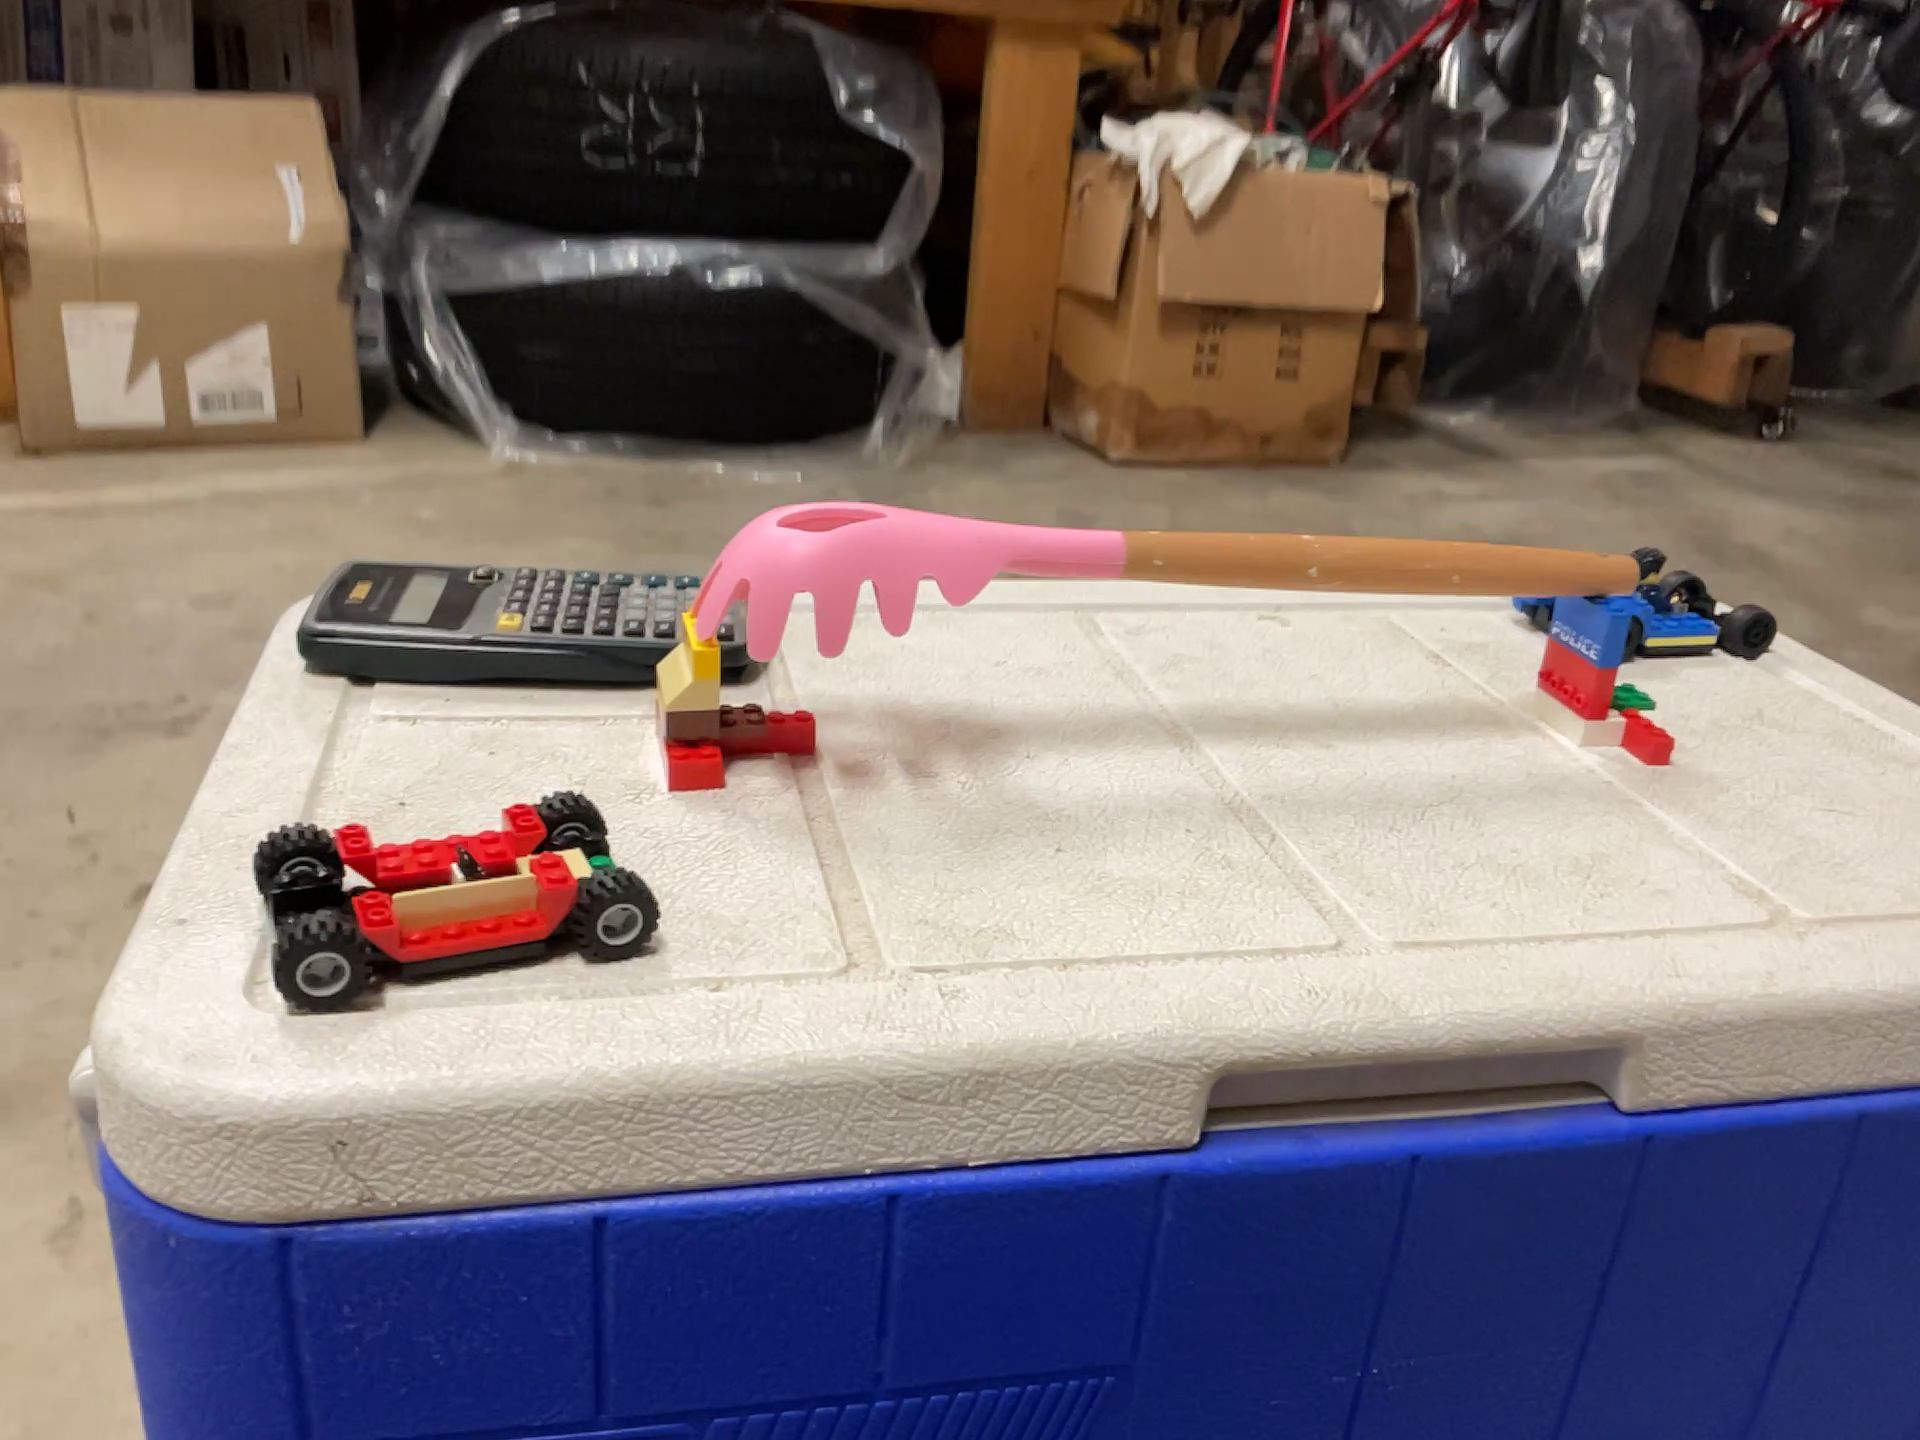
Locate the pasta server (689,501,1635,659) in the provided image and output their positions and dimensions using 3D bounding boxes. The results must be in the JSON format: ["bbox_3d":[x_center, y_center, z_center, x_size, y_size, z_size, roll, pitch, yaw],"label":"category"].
[{"bbox_3d":[0.075,-0.044,0.508,0.316,0.040,0.060,1,22,-15],"label":"pasta server"}]
